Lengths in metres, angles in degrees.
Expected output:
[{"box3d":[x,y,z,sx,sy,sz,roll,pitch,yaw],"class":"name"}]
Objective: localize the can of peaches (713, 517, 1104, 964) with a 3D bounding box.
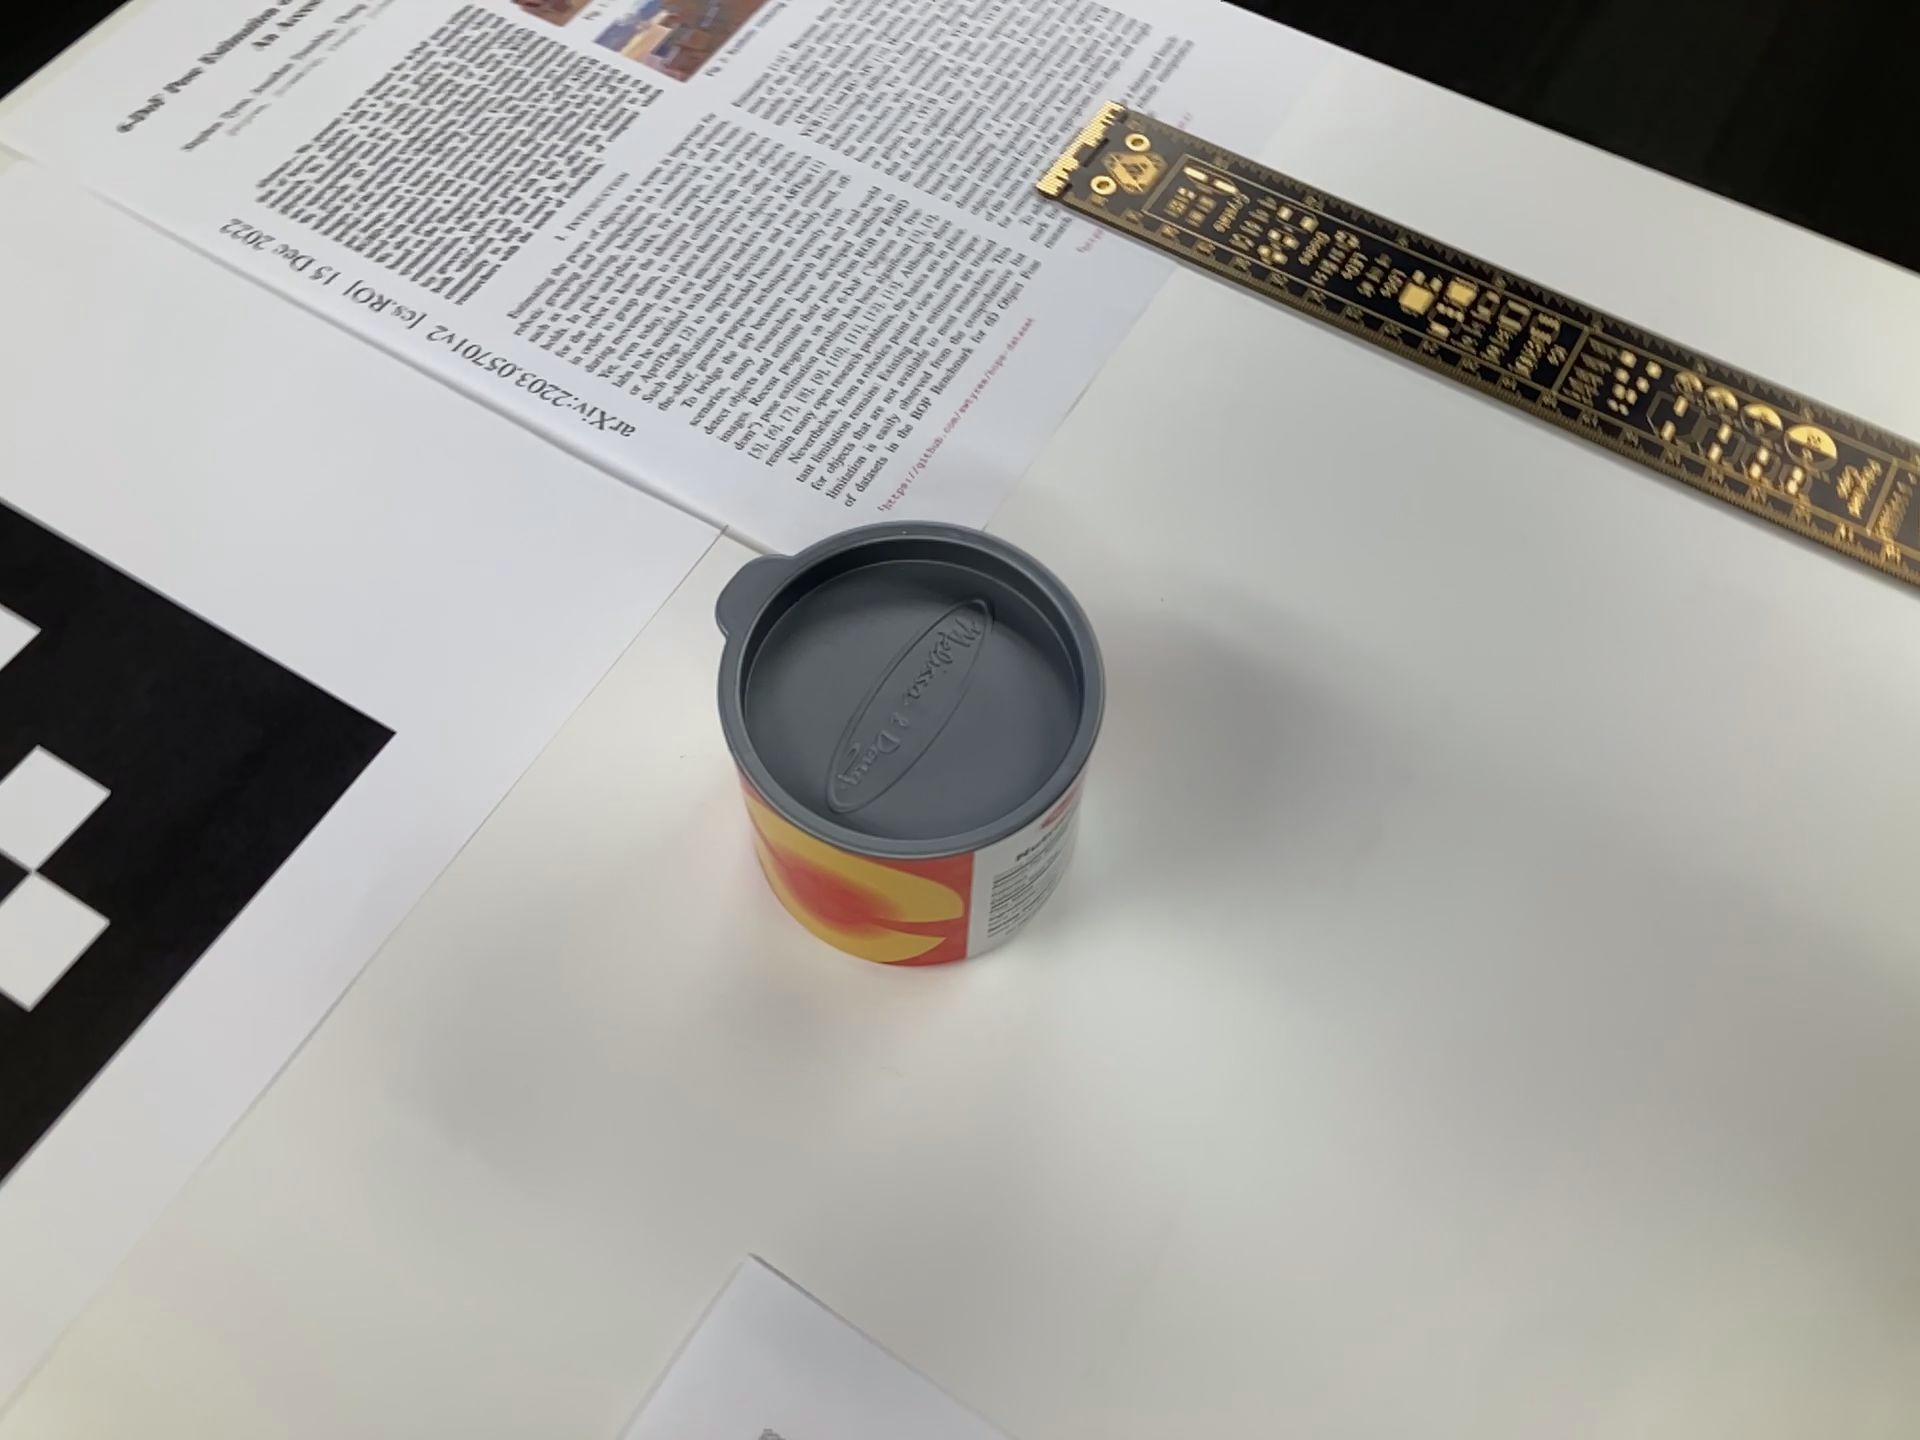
[{"box3d":[-0.011,0.004,0.297,0.071,0.058,0.071,0,61,0],"class":"can of peaches"}]
